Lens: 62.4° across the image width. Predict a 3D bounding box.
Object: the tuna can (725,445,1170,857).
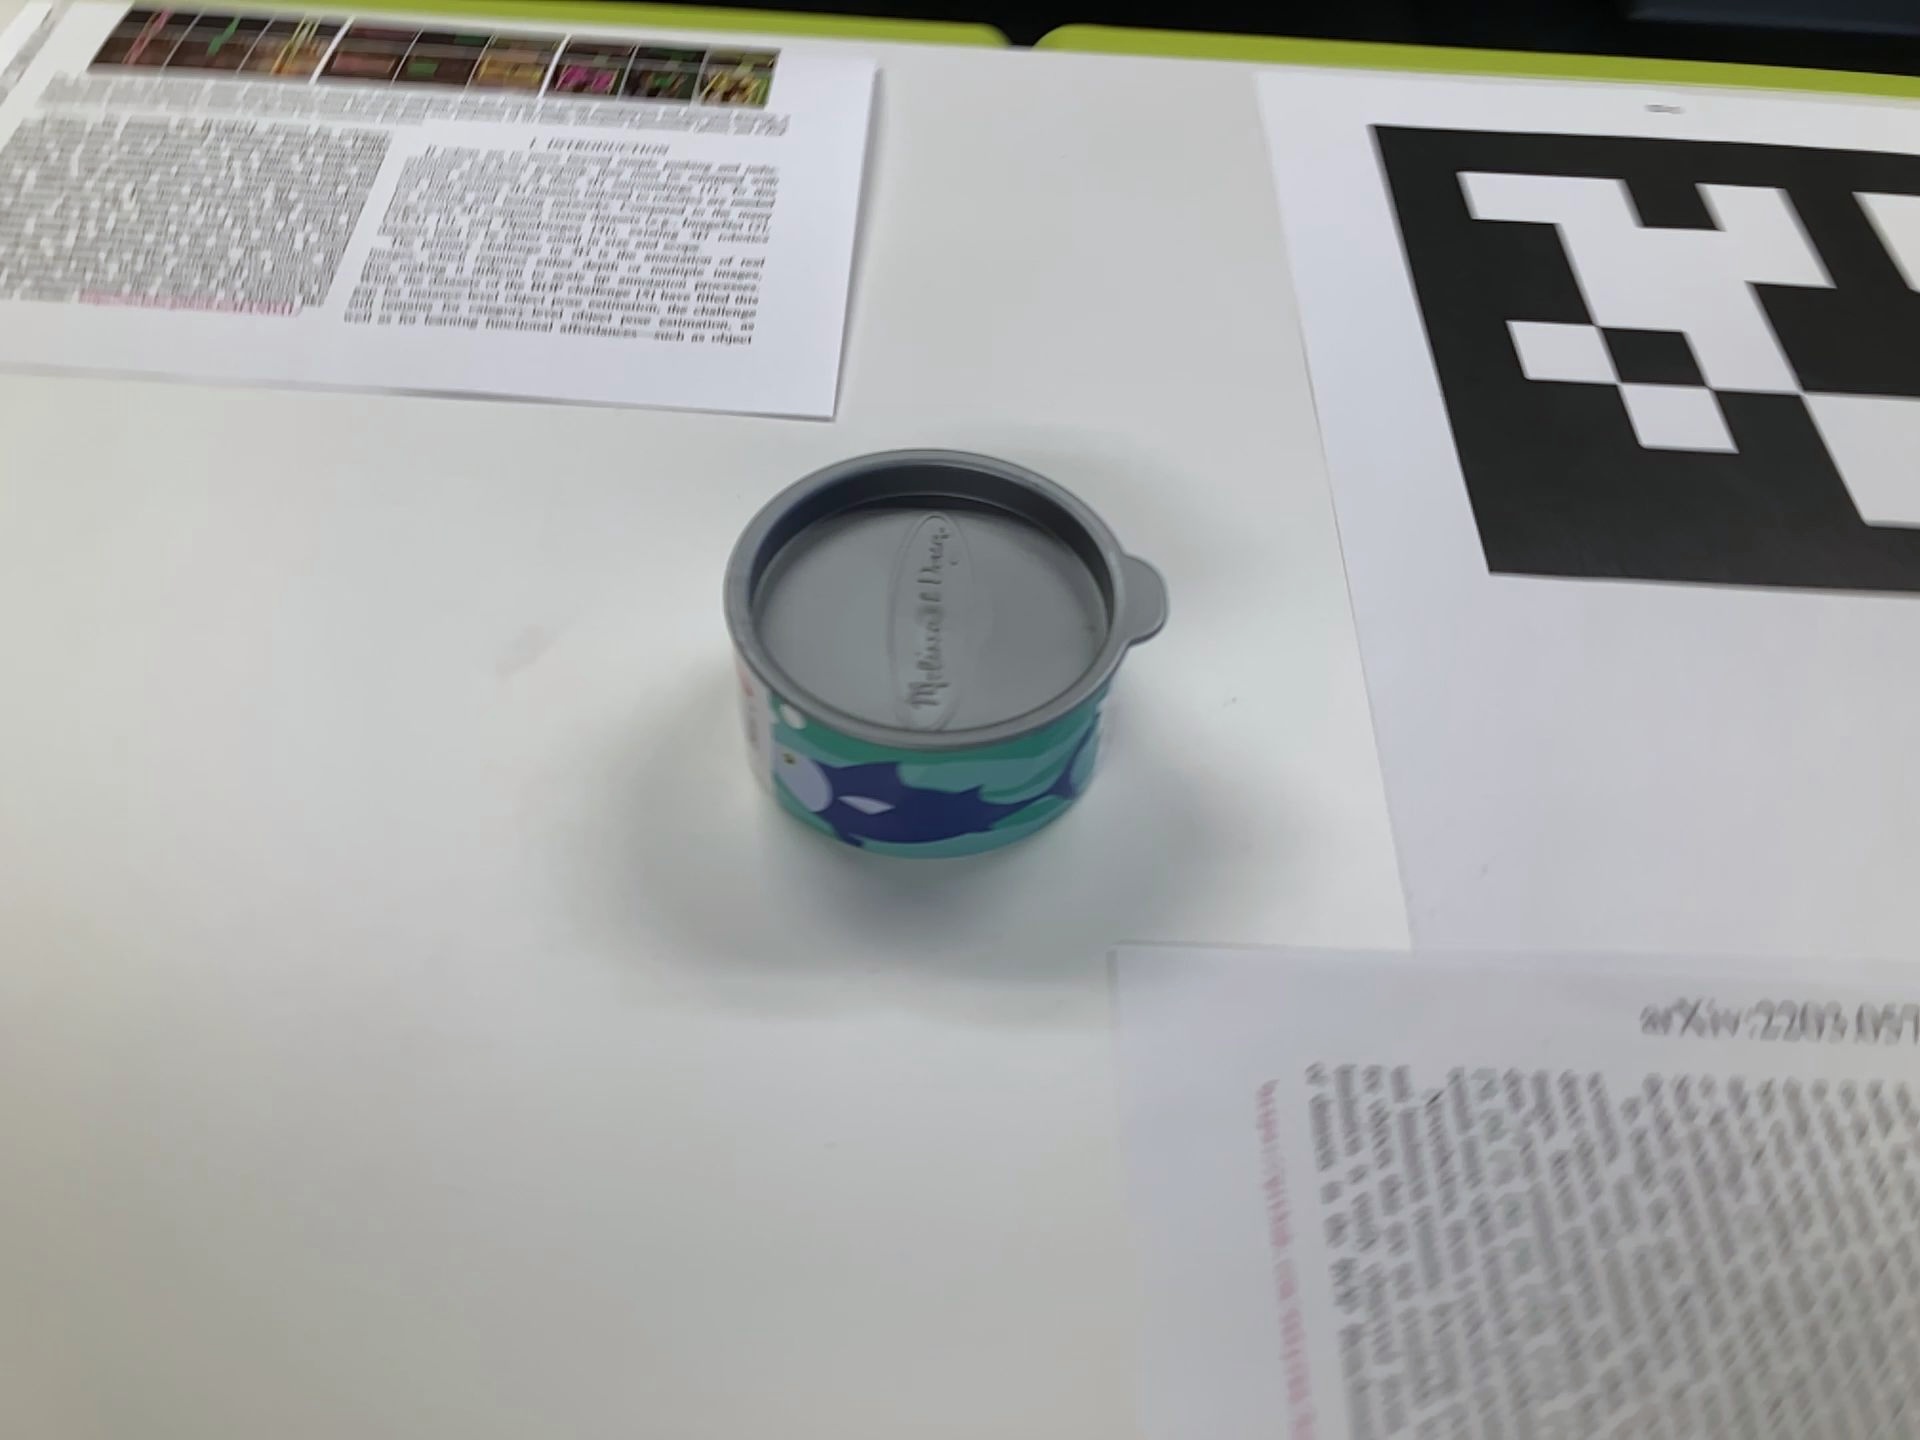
[{"bbox_3d":[-0.003,-0.012,0.265,0.071,0.033,0.071,2,50,-2],"label":"tuna can"}]
